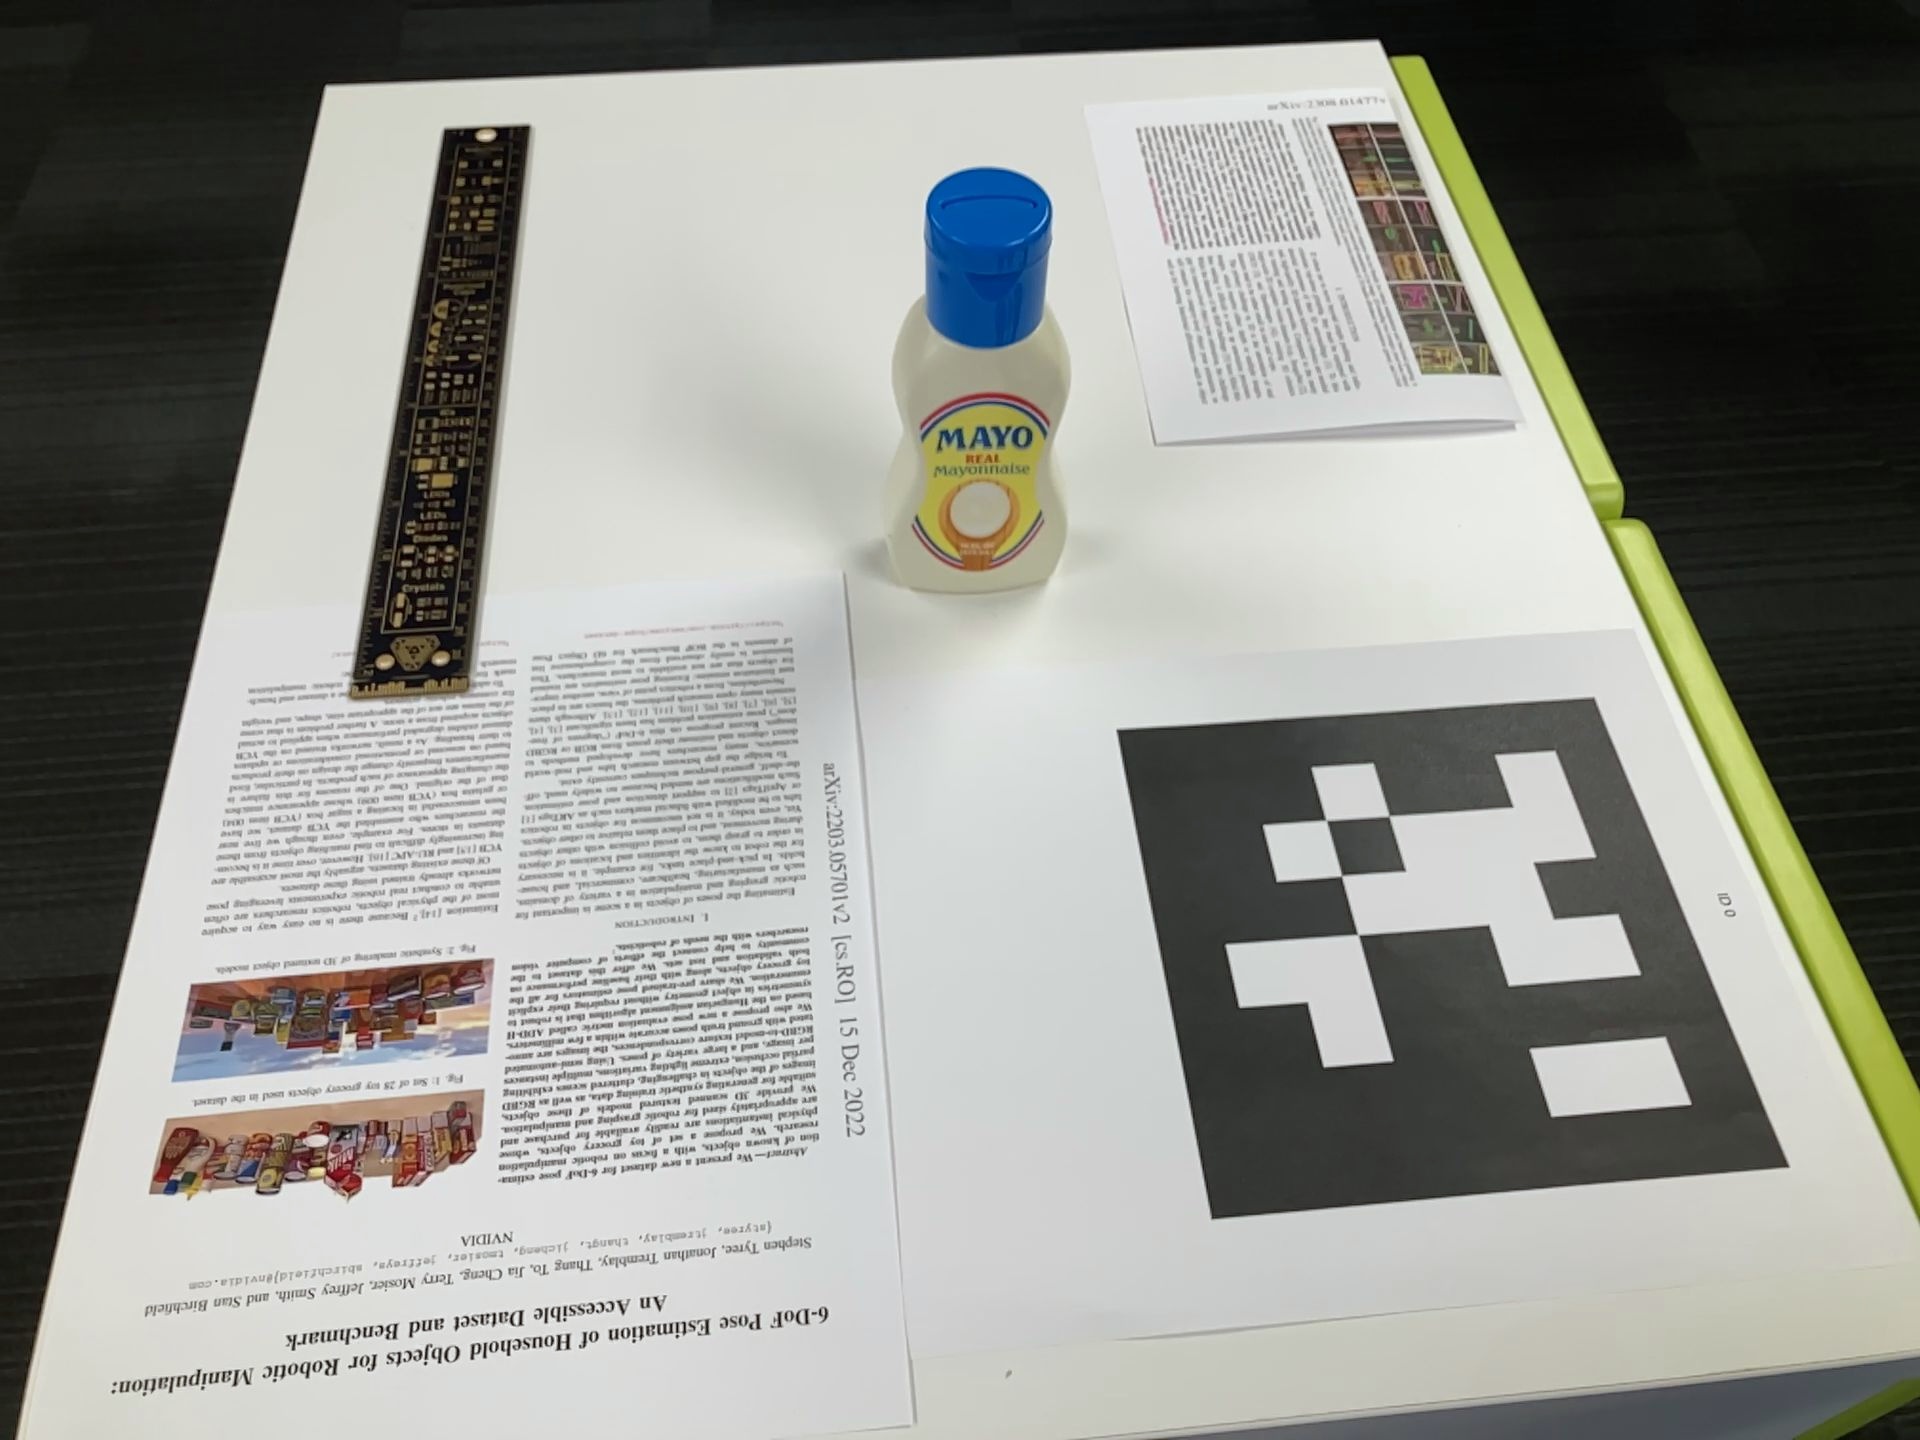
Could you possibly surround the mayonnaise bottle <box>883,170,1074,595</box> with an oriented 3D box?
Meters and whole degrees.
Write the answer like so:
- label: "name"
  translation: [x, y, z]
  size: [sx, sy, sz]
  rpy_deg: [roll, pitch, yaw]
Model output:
- label: "mayonnaise bottle"
  translation: [0.007, -0.101, 0.505]
  size: [0.065, 0.148, 0.041]
  rpy_deg: [-4, 55, -4]
